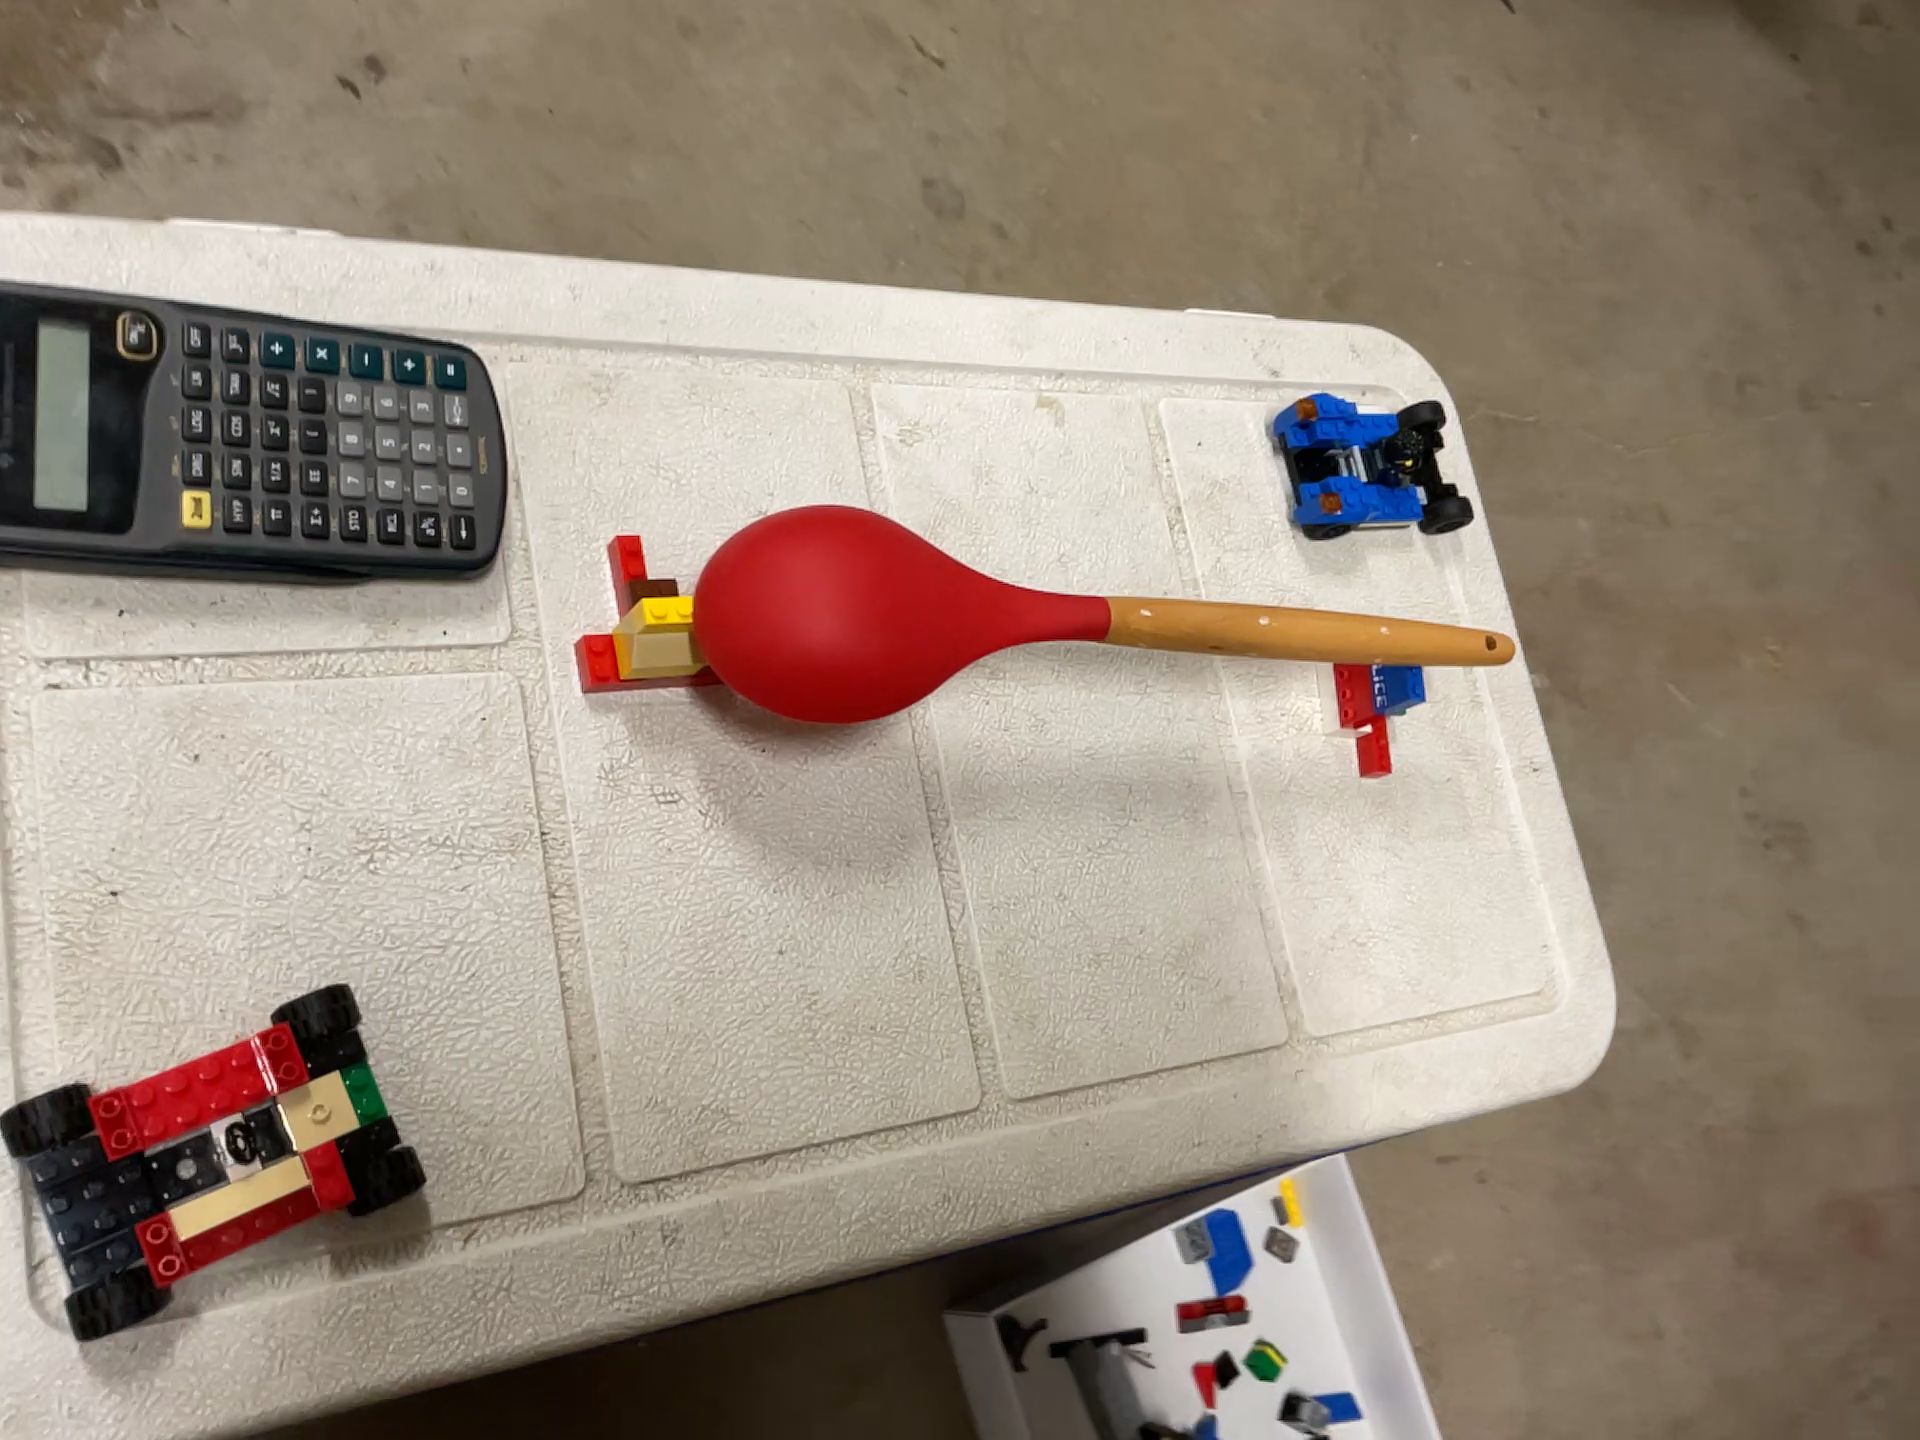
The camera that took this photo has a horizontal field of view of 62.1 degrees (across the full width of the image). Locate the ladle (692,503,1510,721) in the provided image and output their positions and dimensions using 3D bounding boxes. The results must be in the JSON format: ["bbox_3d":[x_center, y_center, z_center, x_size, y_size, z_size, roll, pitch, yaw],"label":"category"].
[{"bbox_3d":[0.067,-0.030,0.528,0.315,0.031,0.069,2,72,-29],"label":"ladle"}]
